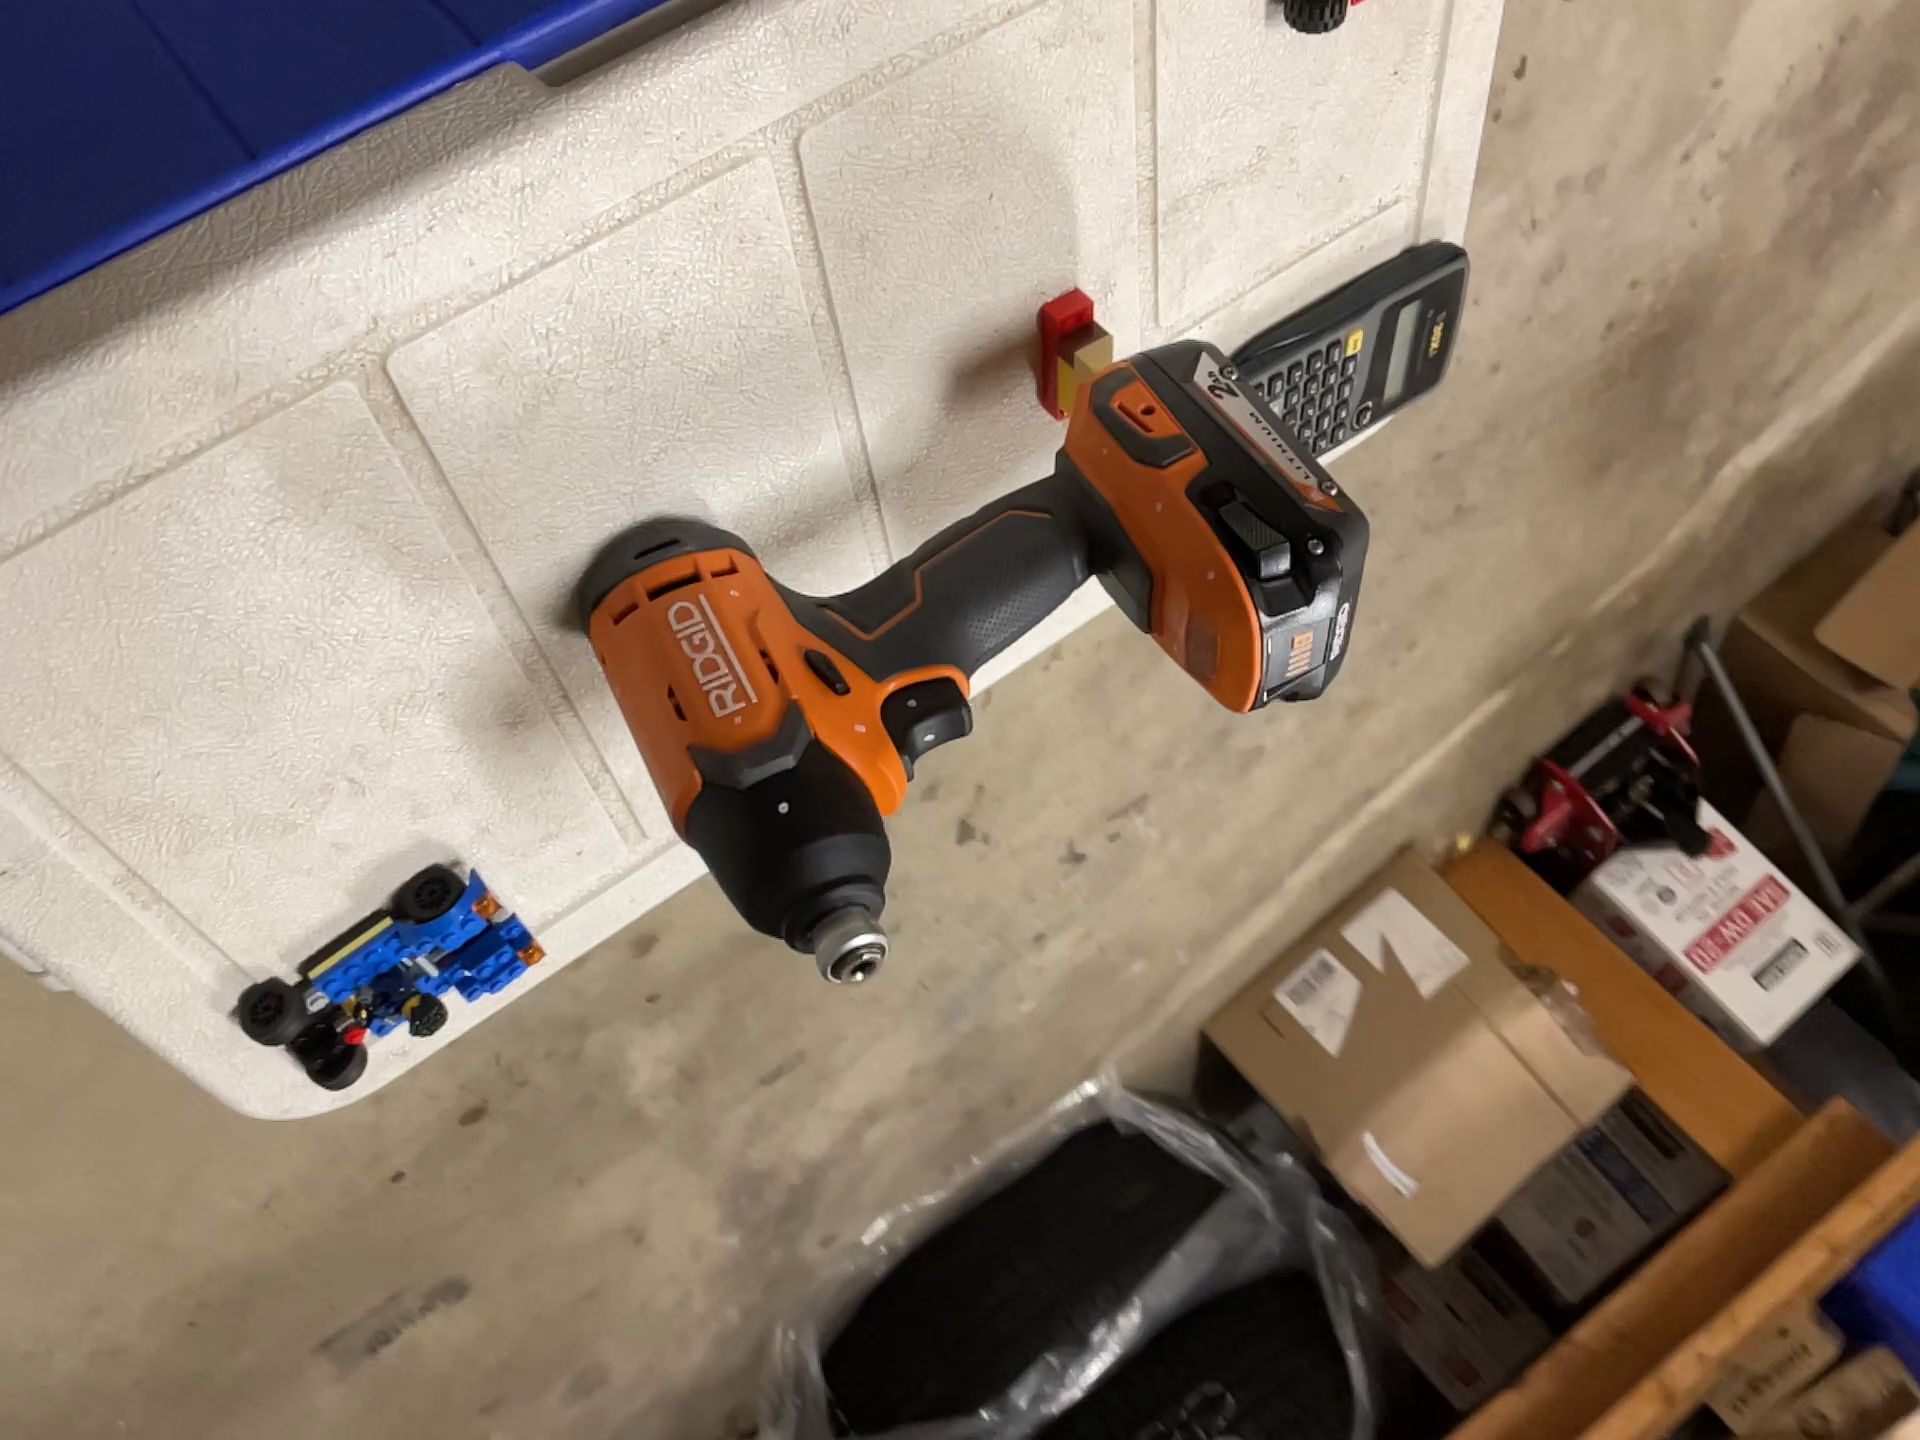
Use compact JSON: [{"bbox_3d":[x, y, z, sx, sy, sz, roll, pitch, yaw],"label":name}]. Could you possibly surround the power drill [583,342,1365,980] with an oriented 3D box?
[{"bbox_3d":[0.010,-0.020,0.508,0.226,0.164,0.084,-23,146,-11],"label":"power drill"}]
